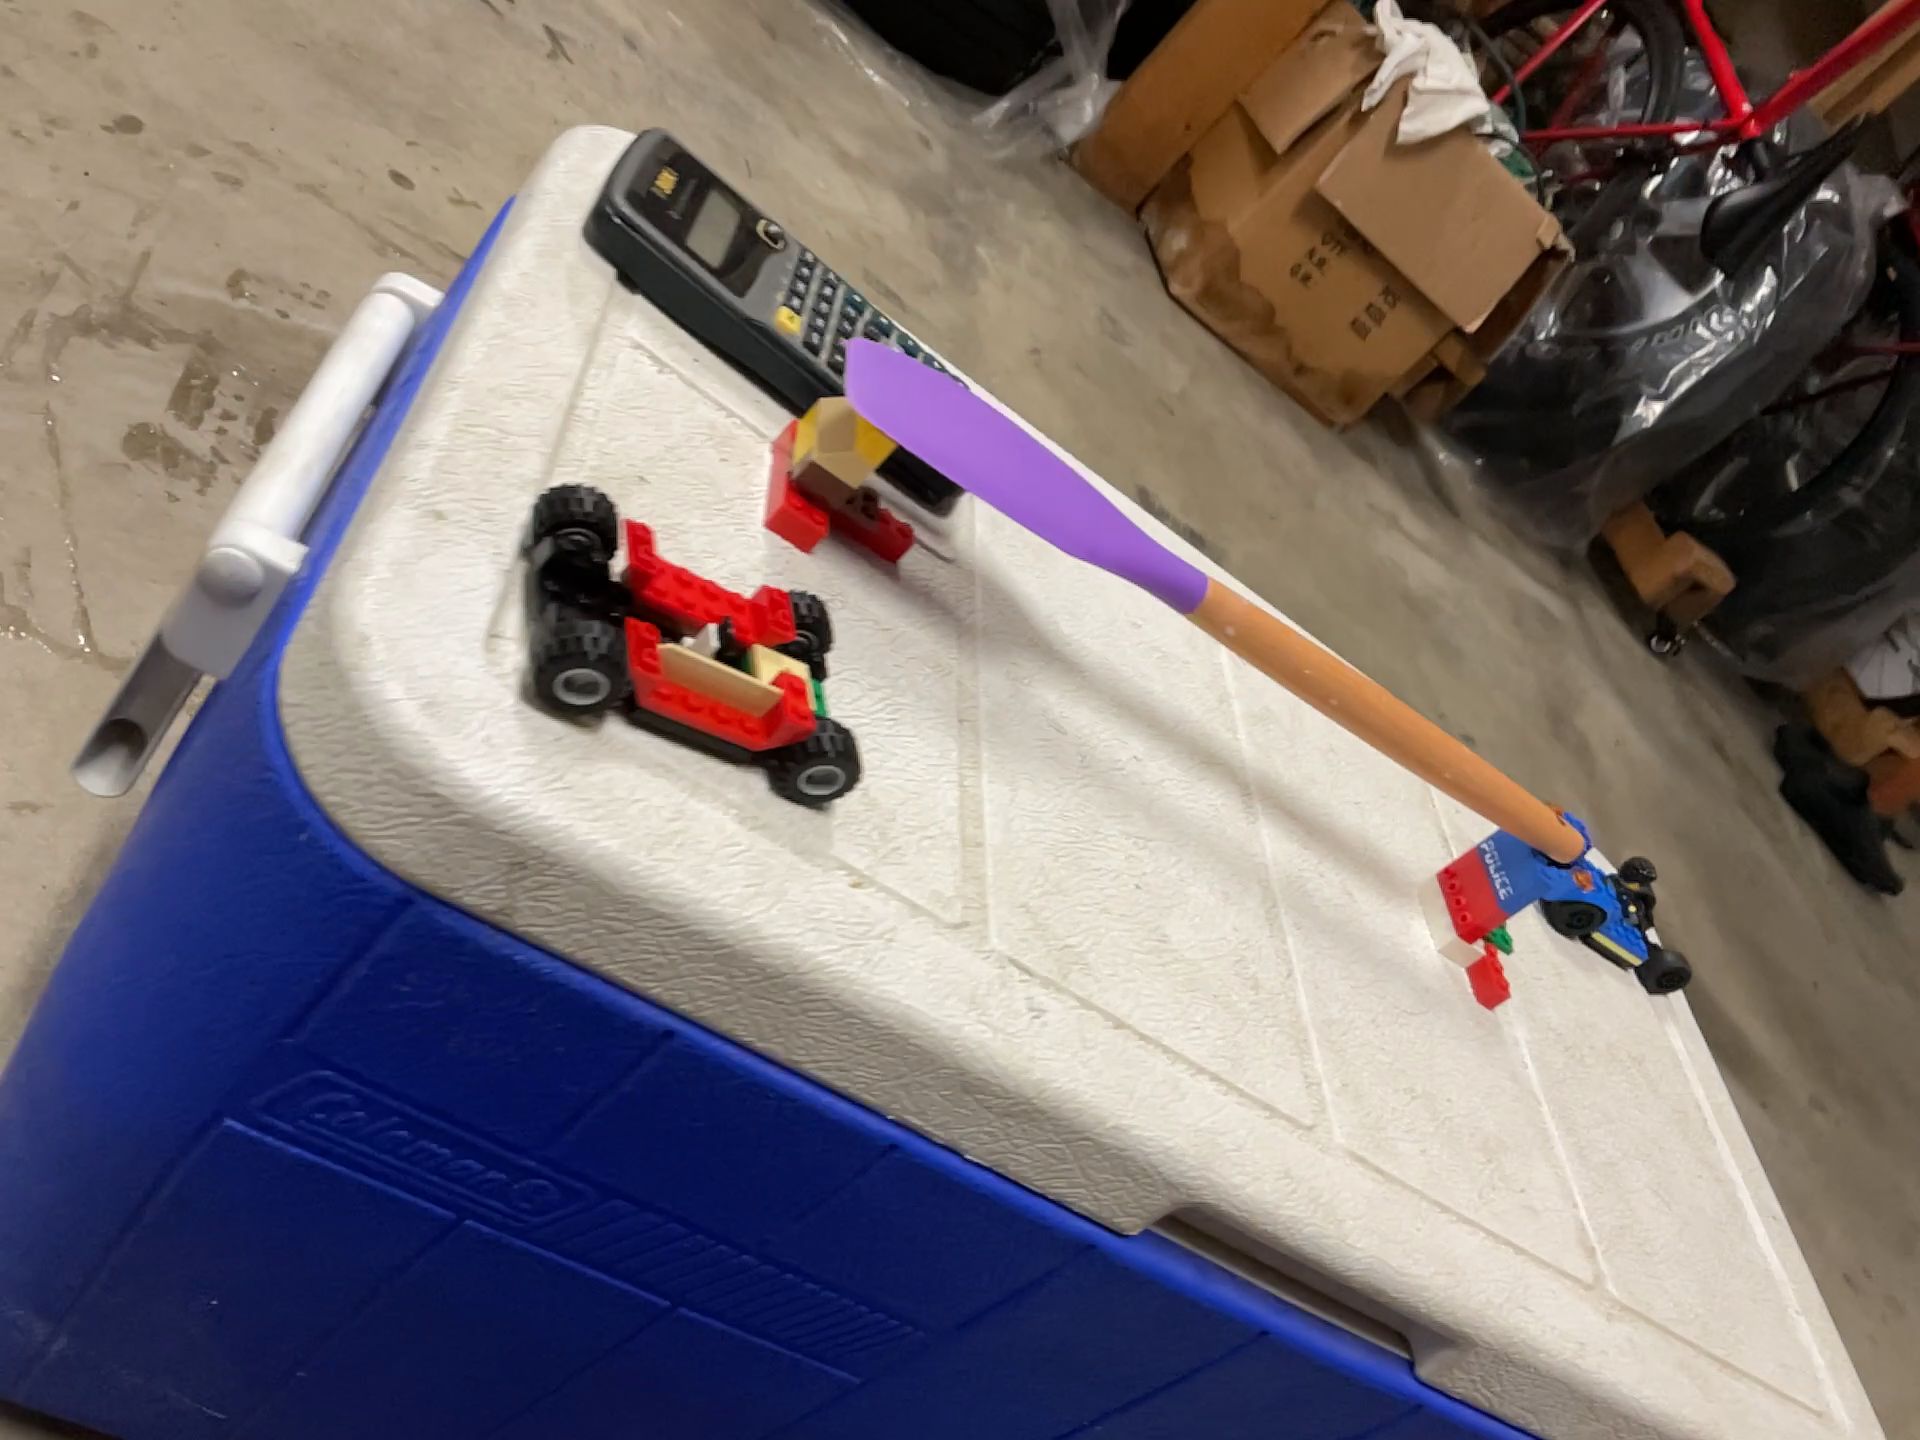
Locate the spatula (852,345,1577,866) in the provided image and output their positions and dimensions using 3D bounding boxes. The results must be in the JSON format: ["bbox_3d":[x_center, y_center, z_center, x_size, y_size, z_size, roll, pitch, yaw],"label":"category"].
[{"bbox_3d":[0.094,-0.027,0.513,0.316,0.018,0.060,31,34,-24],"label":"spatula"}]
